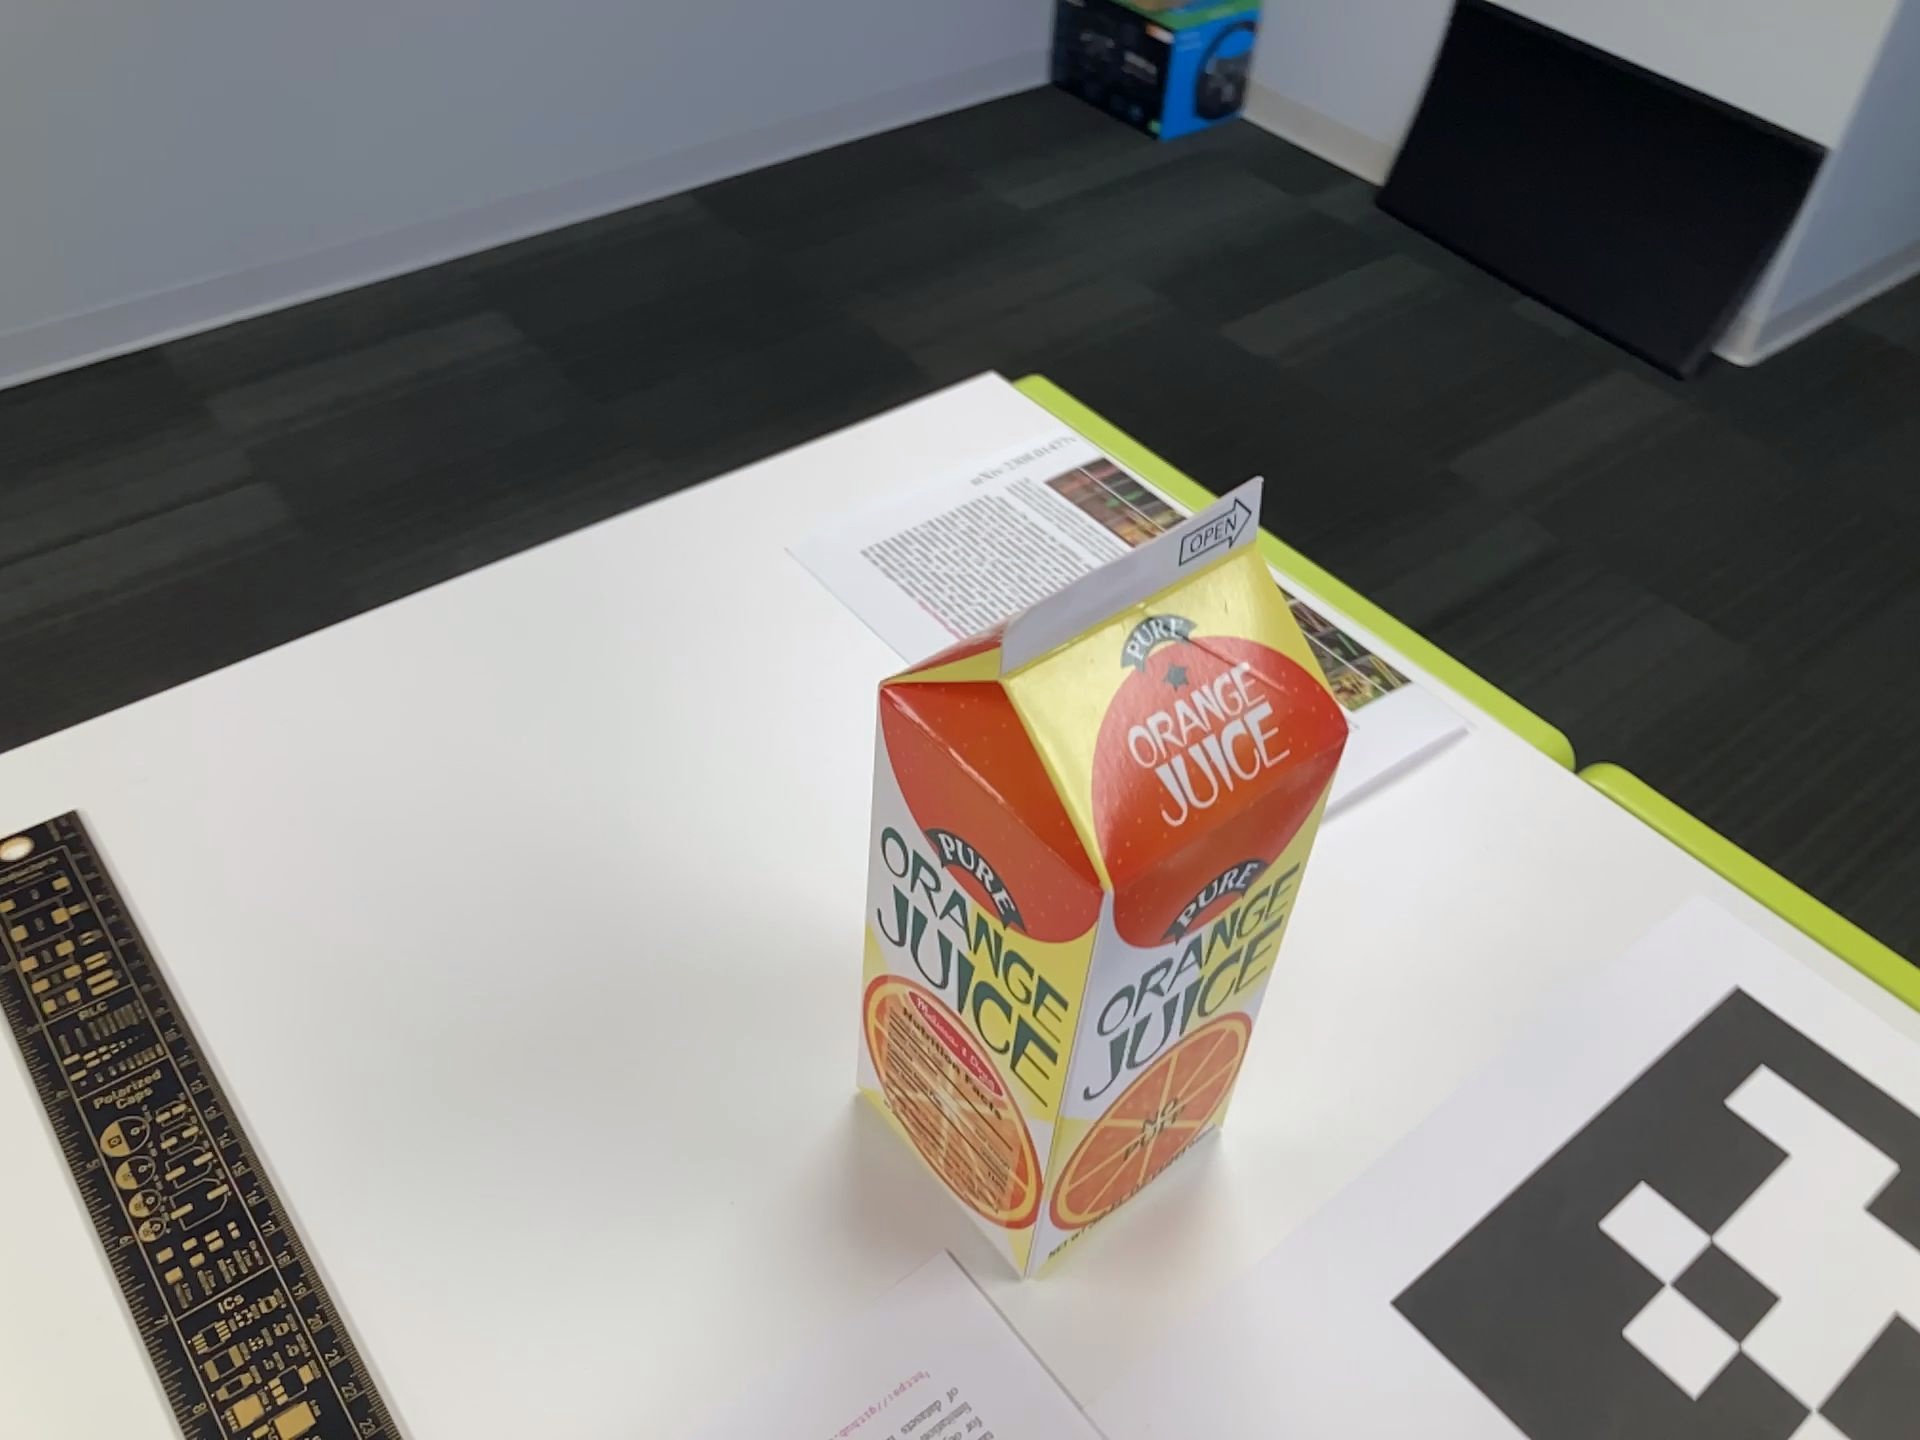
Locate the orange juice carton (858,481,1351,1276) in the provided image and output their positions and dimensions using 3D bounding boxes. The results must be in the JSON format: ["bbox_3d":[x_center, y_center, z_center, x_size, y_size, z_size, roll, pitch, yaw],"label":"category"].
[{"bbox_3d":[0.027,0.036,0.363,0.072,0.192,0.073,-28,53,-30],"label":"orange juice carton"}]
